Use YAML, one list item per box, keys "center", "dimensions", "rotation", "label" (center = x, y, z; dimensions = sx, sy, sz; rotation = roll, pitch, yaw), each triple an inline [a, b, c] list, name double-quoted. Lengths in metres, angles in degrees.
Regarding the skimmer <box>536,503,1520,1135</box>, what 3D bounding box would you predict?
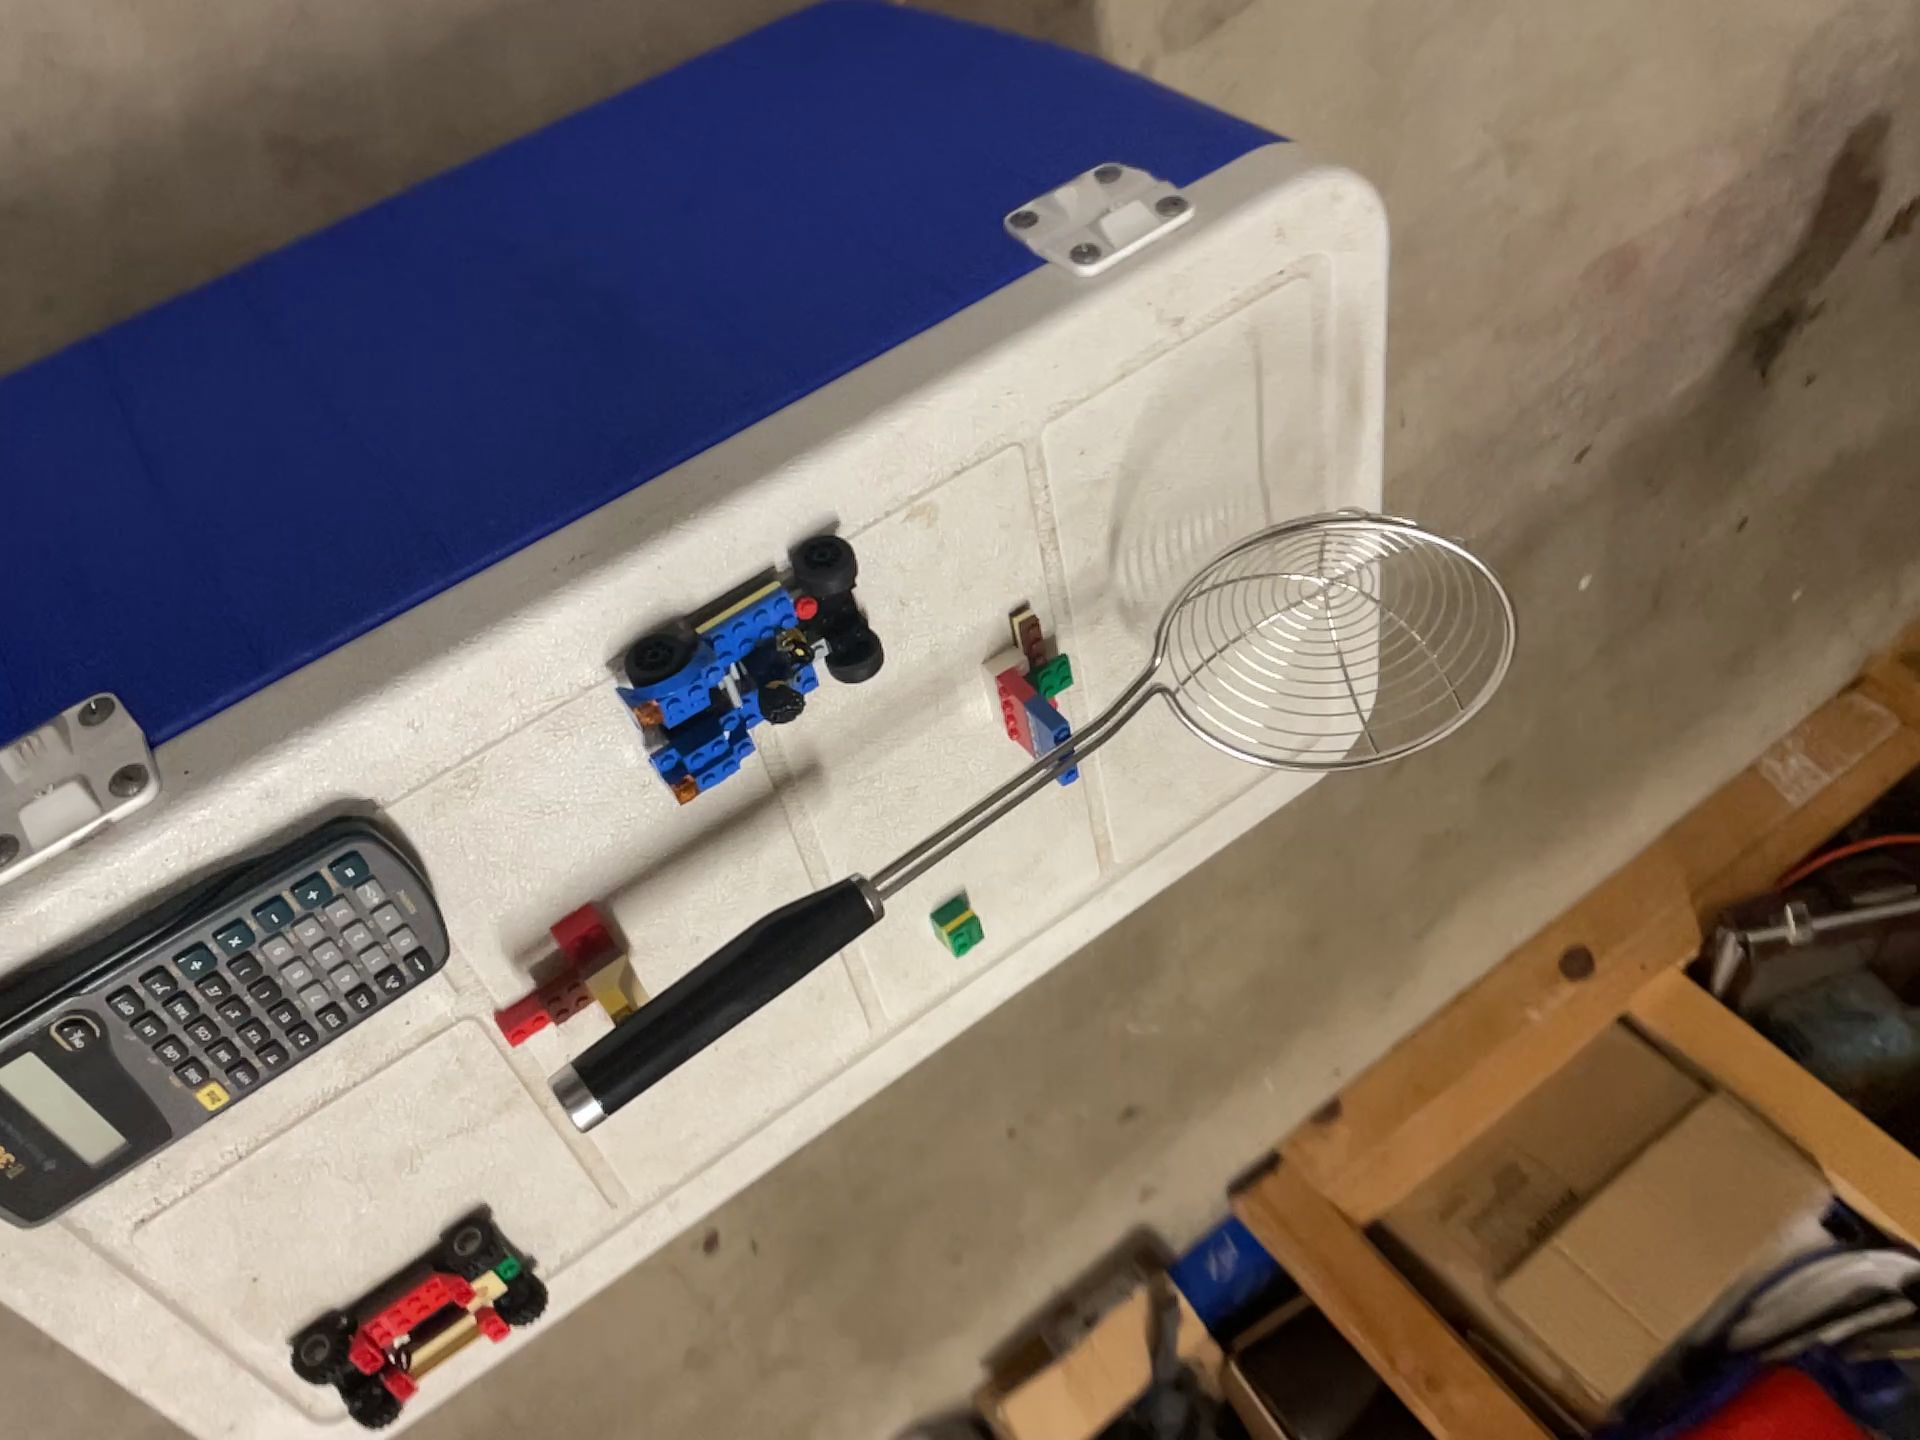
- center: [0.030, 0.043, 0.543]
  dimensions: [0.363, 0.090, 0.127]
  rotation: [-34, 137, -17]
  label: "skimmer"
